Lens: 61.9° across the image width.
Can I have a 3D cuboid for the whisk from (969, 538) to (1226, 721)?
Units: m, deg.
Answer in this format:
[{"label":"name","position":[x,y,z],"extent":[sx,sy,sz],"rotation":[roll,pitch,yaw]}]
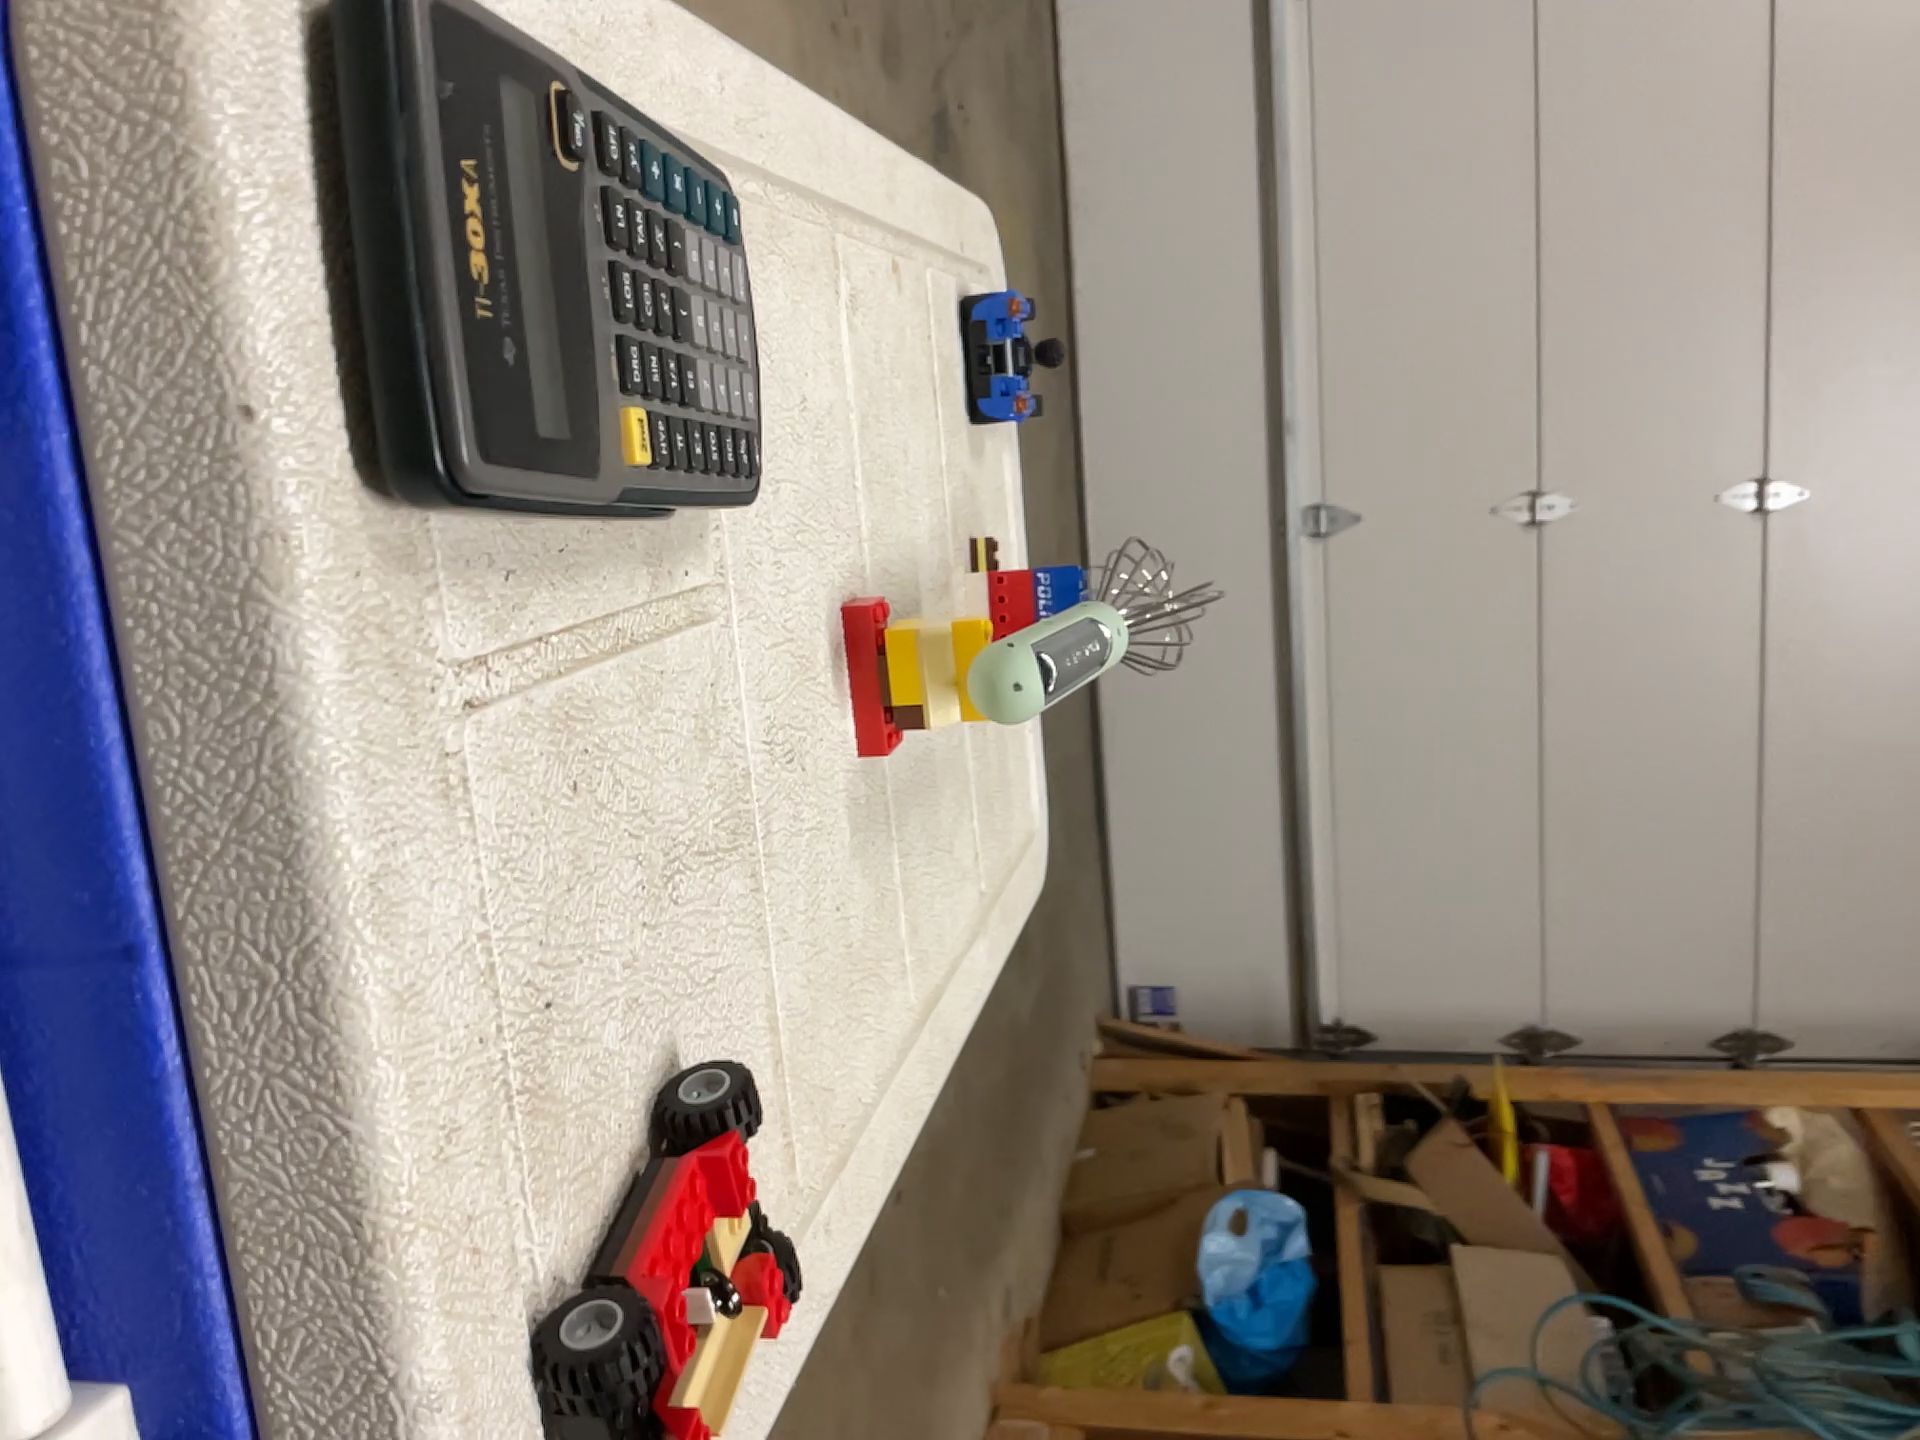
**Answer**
[{"label":"whisk","position":[0.051,-0.031,0.574],"extent":[0.246,0.059,0.058],"rotation":[-29,108,-69]}]
